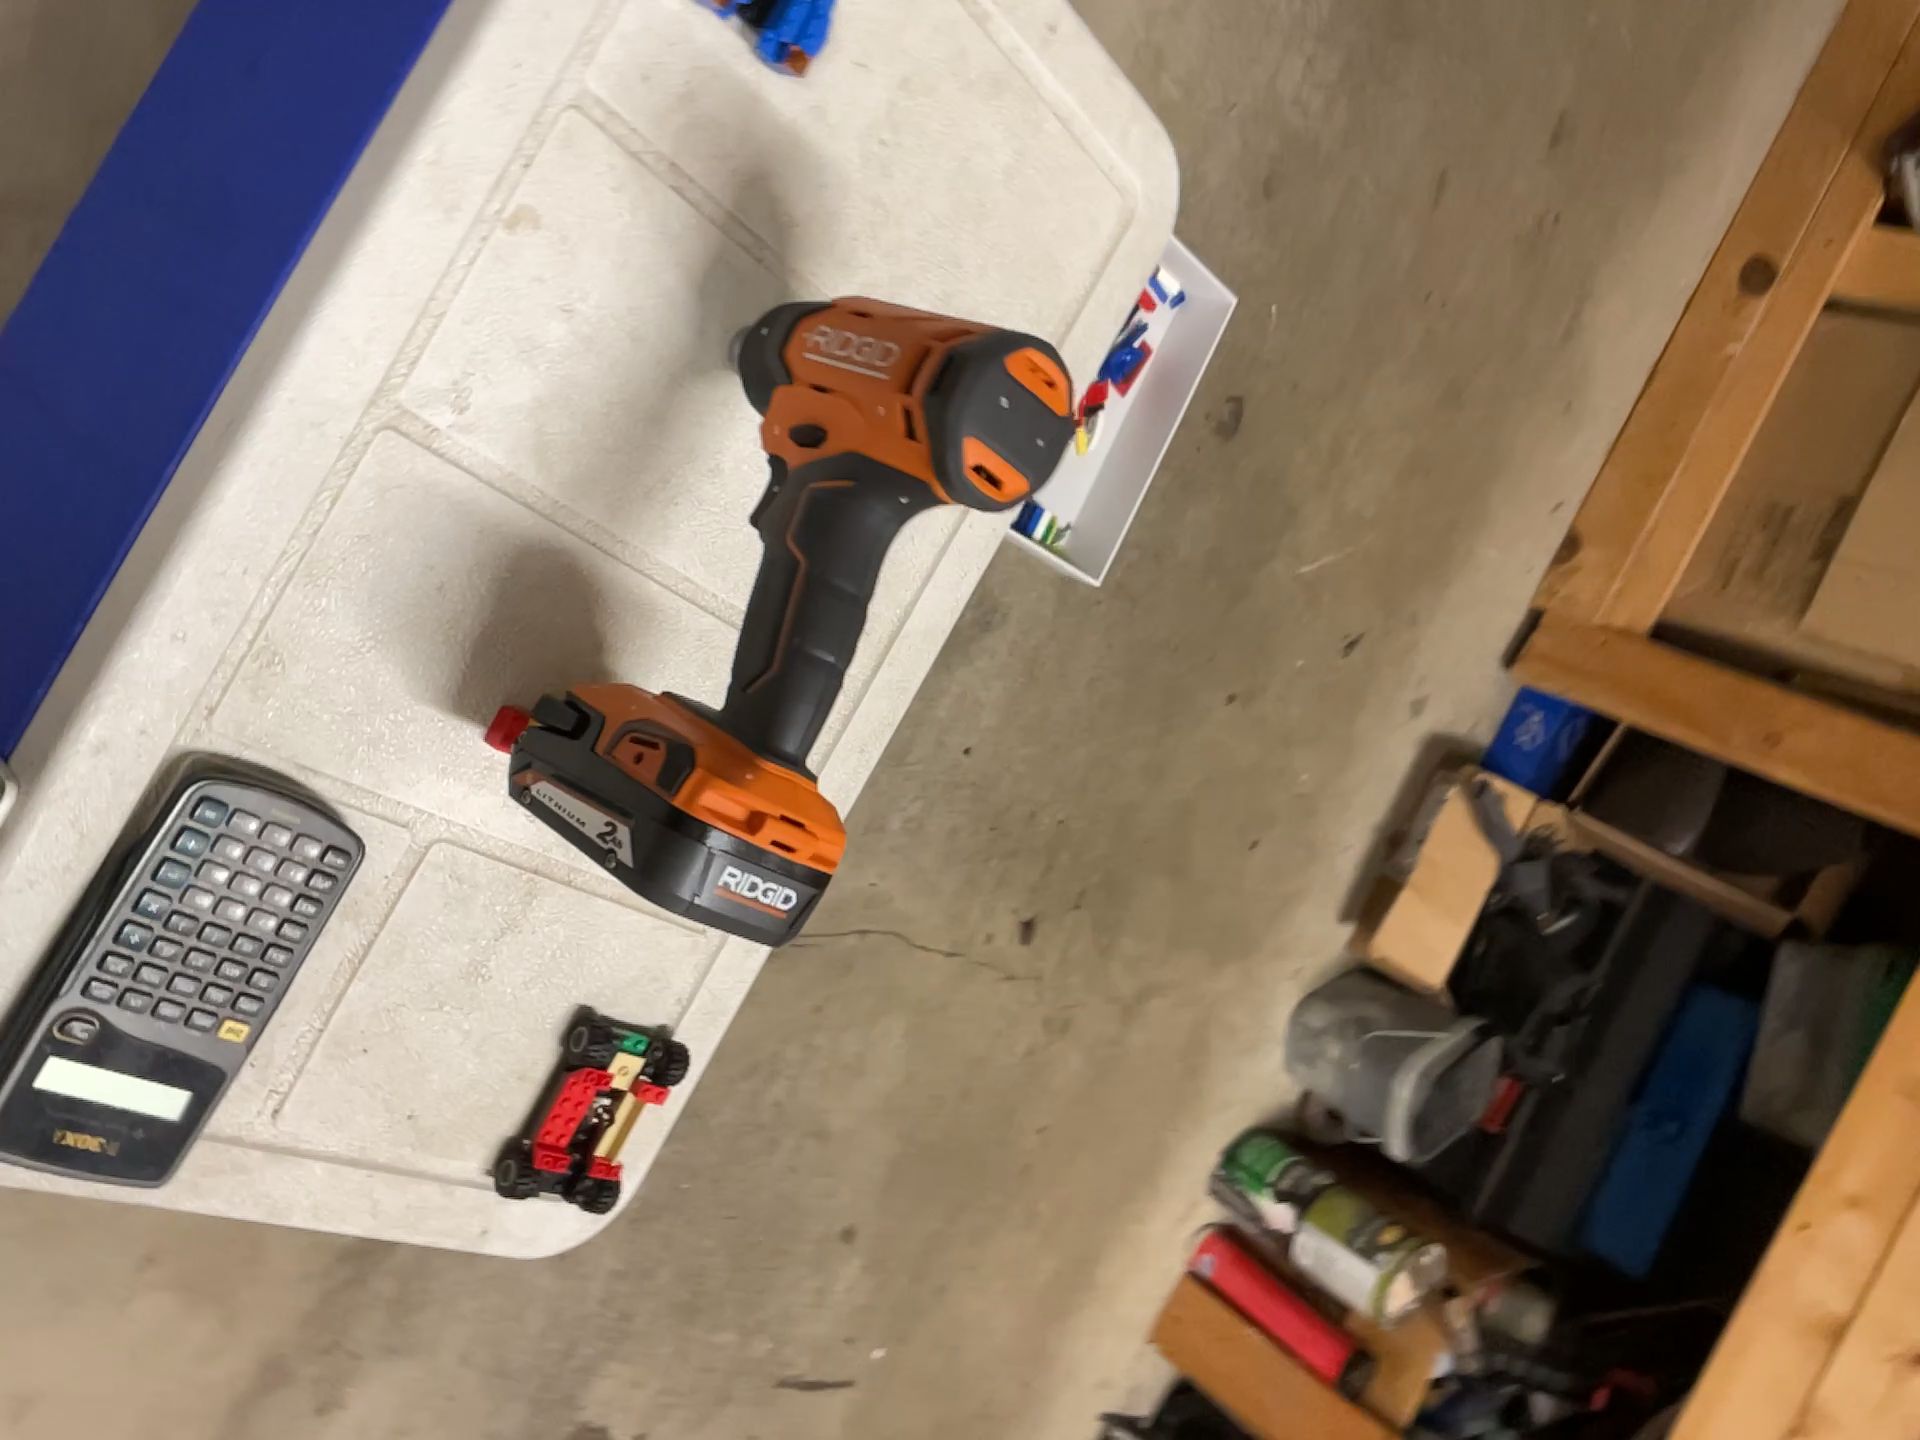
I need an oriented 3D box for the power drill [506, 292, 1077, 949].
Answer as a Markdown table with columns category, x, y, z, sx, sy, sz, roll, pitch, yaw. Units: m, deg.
| category | x | y | z | sx | sy | sz | roll | pitch | yaw |
| --- | --- | --- | --- | --- | --- | --- | --- | --- | --- |
| power drill | -0.071 | -0.051 | 0.582 | 0.084 | 0.164 | 0.226 | 30 | 88 | -47 |
